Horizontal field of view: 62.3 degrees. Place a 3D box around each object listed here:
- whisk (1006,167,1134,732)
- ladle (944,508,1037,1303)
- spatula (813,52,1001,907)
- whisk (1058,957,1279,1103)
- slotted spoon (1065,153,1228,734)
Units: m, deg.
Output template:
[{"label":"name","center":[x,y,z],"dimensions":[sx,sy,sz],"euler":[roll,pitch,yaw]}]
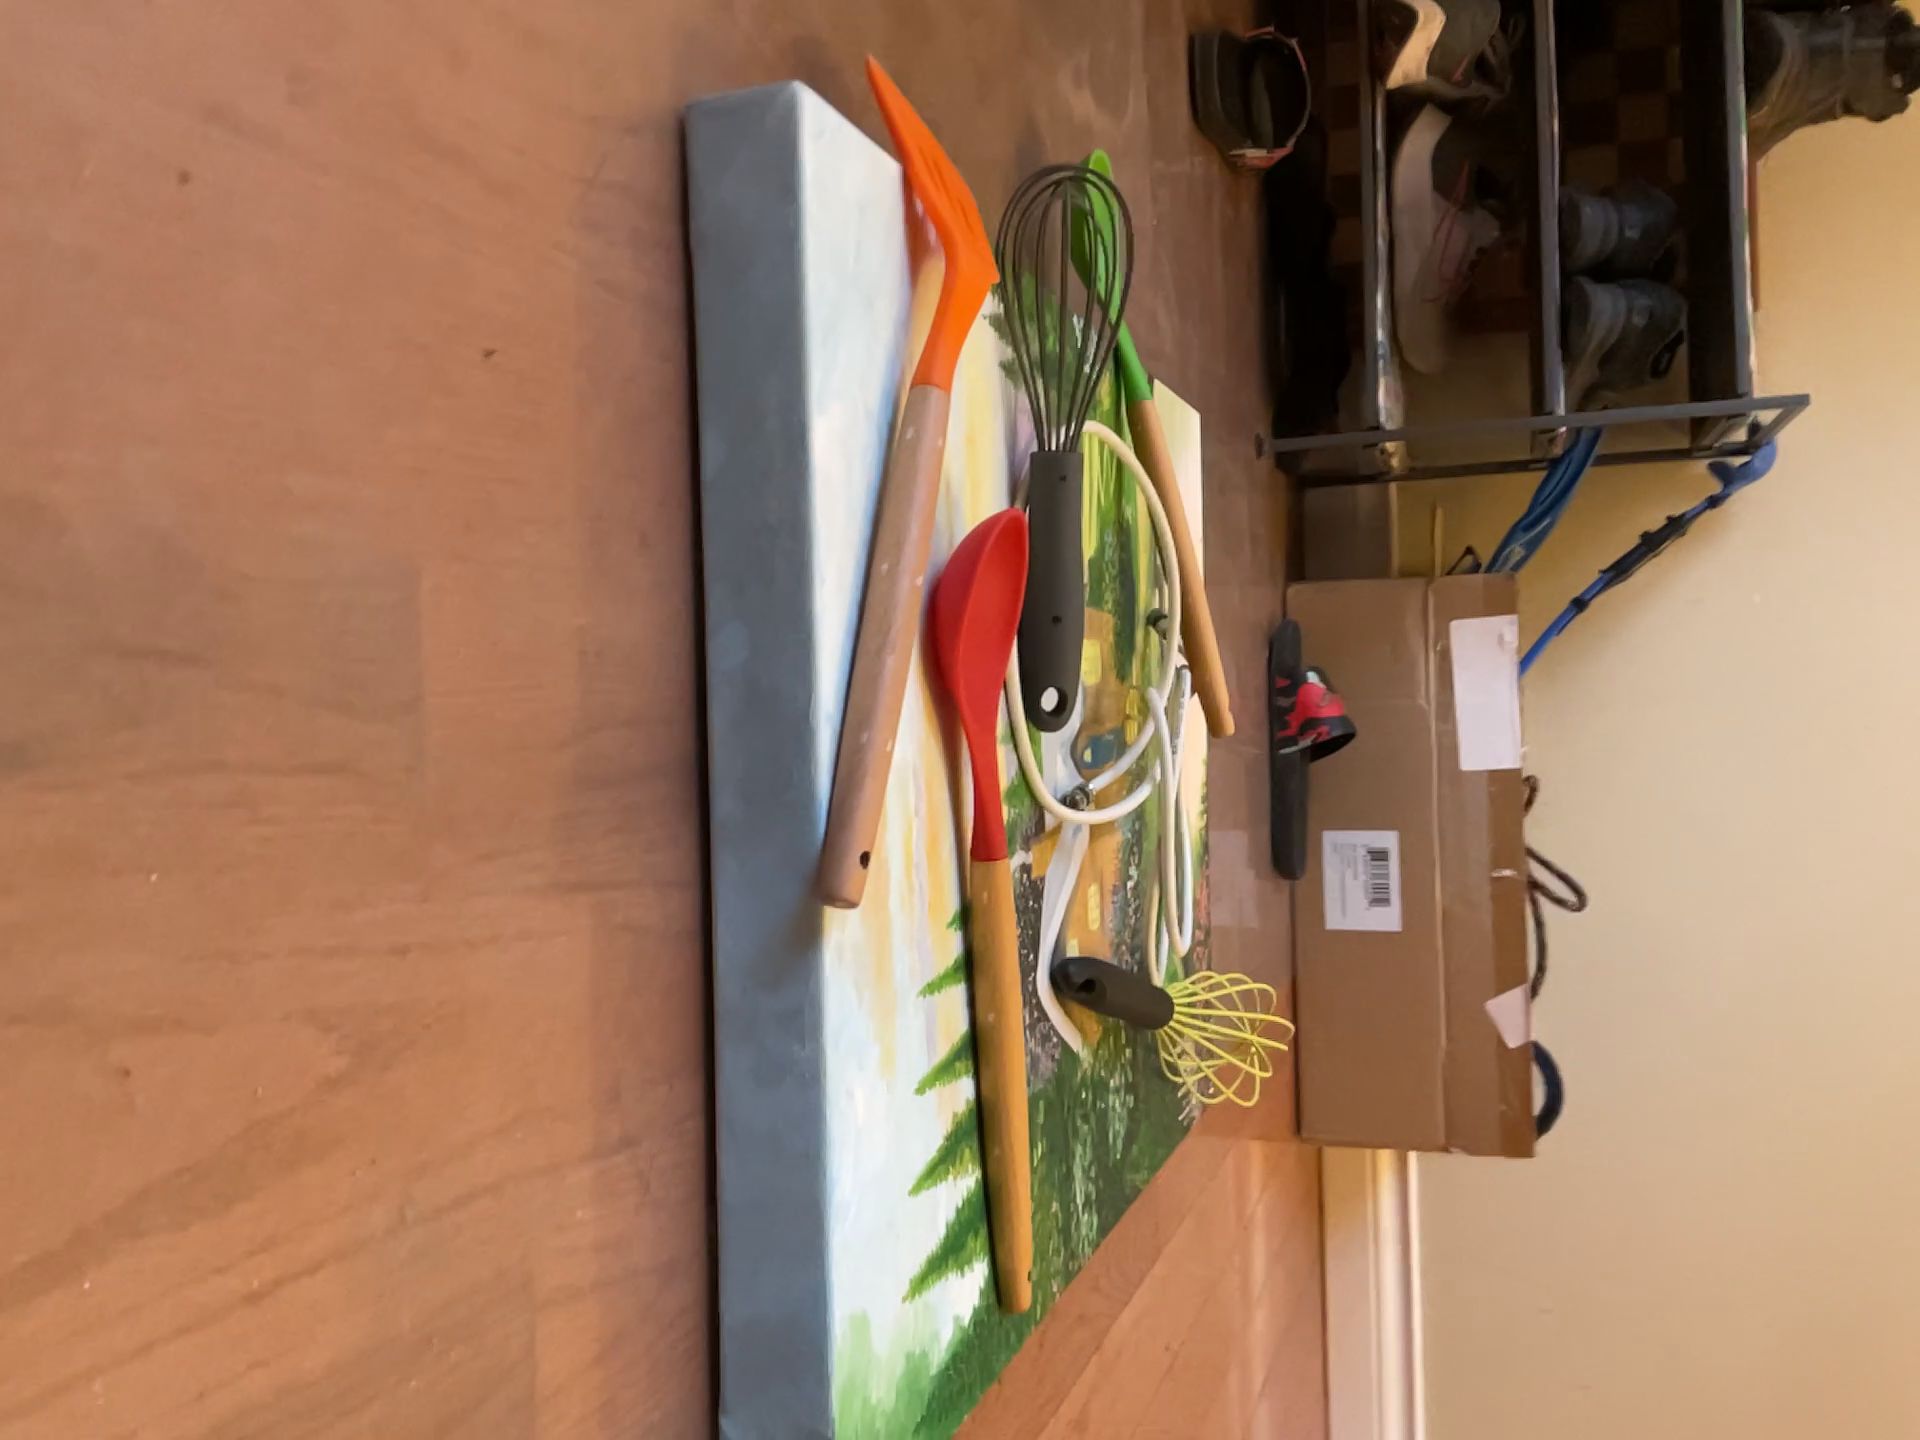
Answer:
[{"label":"whisk","center":[0.043,-0.112,0.679],"dimensions":[0.055,0.055,0.239],"euler":[-16,111,-59]},{"label":"ladle","center":[0.014,0.077,0.615],"dimensions":[0.069,0.031,0.315],"euler":[-25,115,-68]},{"label":"spatula","center":[-0.022,-0.091,0.549],"dimensions":[0.080,0.041,0.323],"euler":[40,53,-51]},{"label":"whisk","center":[0.112,0.158,0.855],"dimensions":[0.311,0.067,0.080],"euler":[34,52,-60]},{"label":"slotted spoon","center":[0.101,-0.146,0.851],"dimensions":[0.070,0.031,0.314],"euler":[-10,87,-71]}]
